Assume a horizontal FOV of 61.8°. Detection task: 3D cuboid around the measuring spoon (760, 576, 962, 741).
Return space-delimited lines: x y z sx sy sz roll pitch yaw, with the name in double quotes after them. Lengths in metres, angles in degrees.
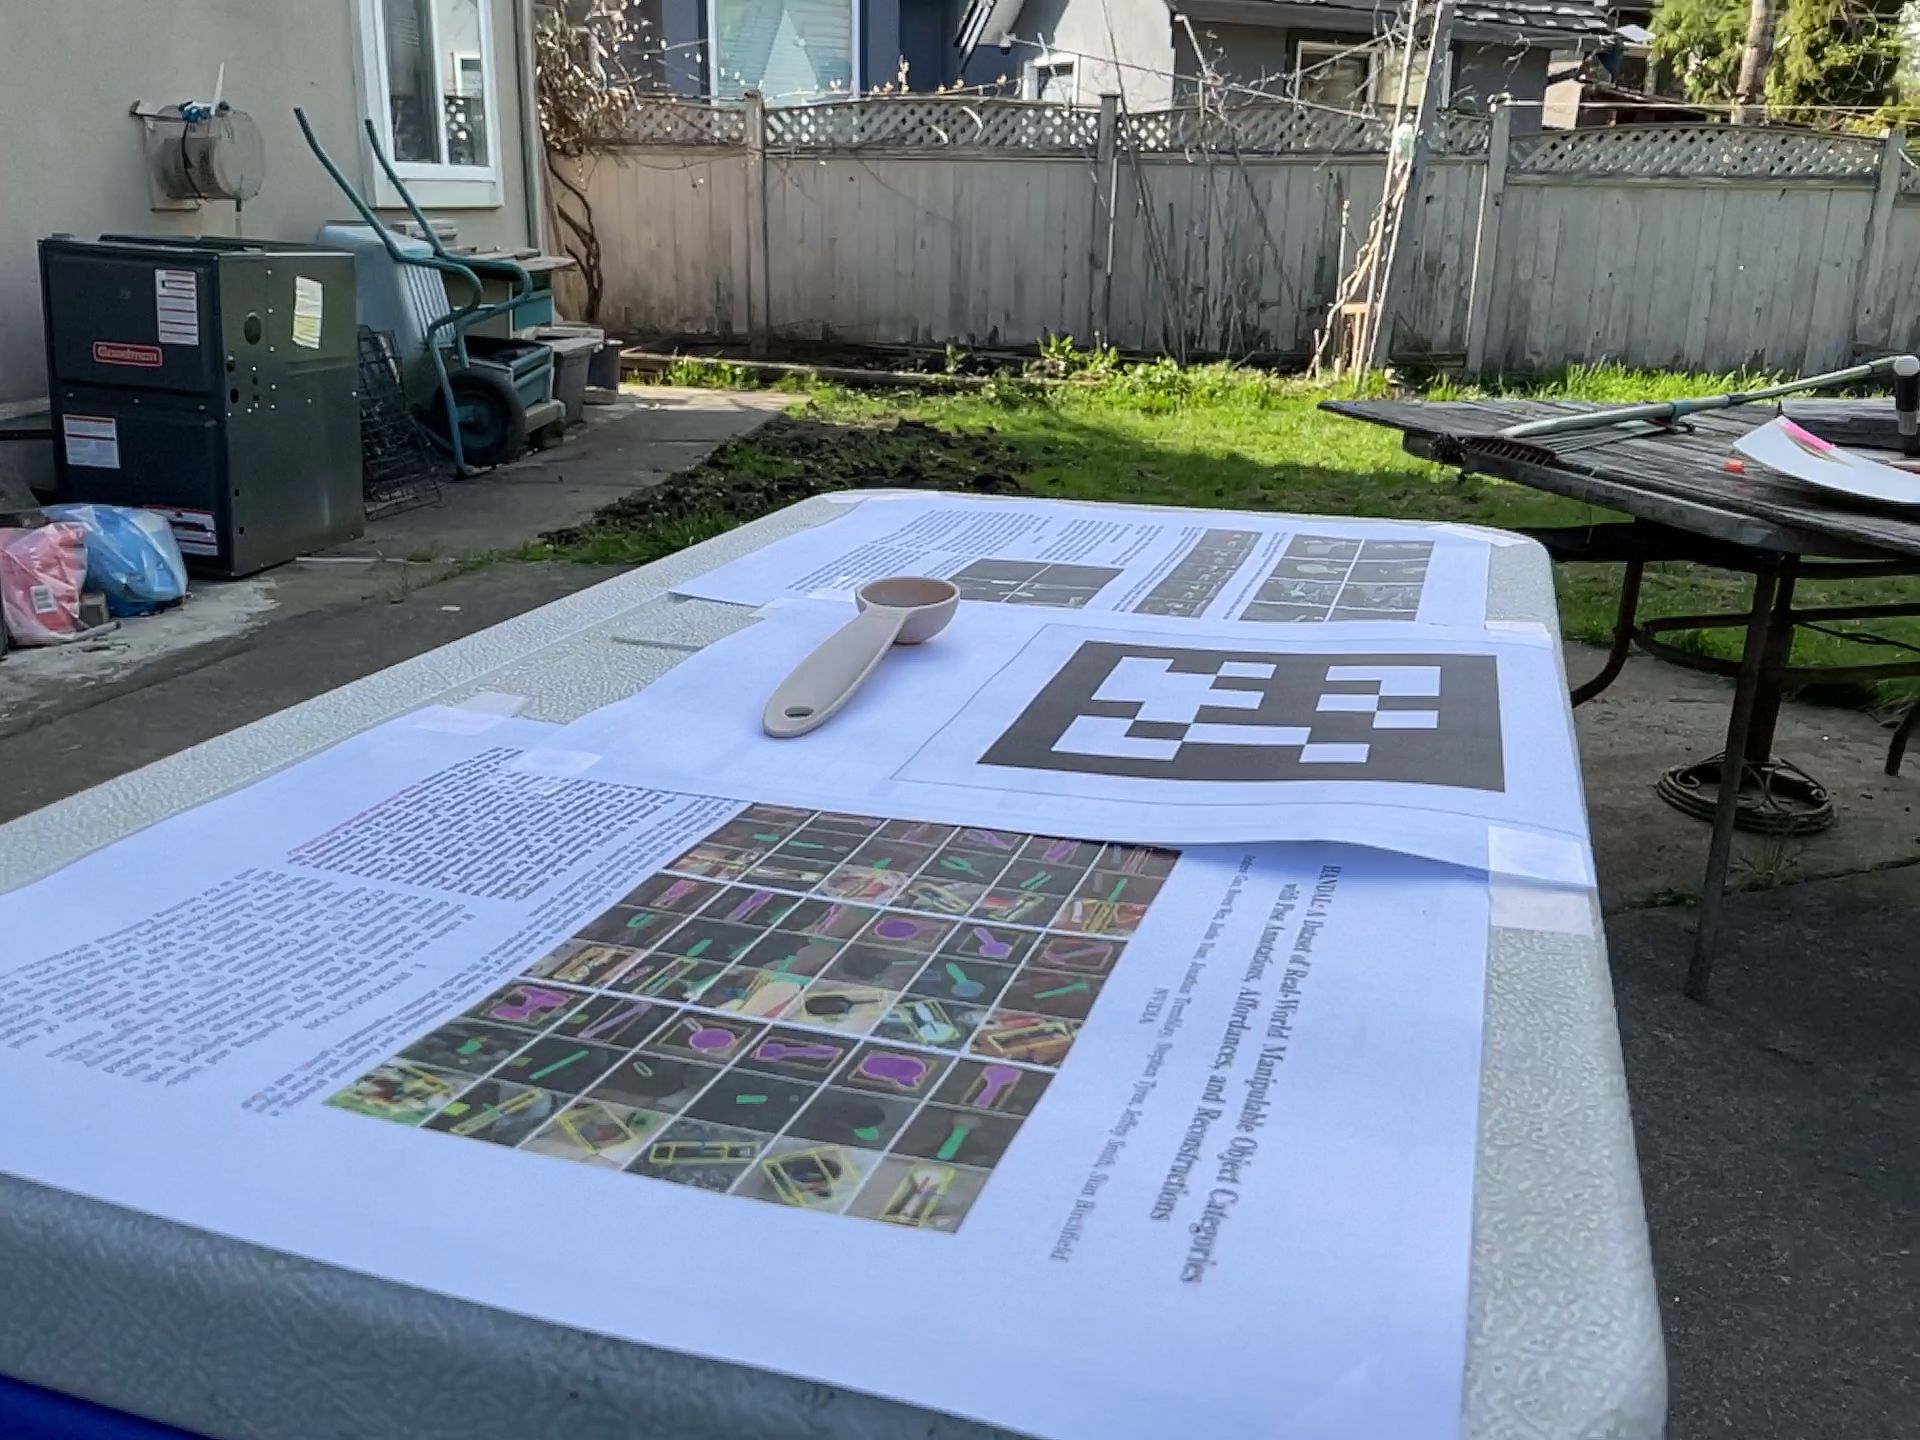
-0.030 -0.016 0.475 0.034 0.018 0.124 7 26 16 "measuring spoon"
